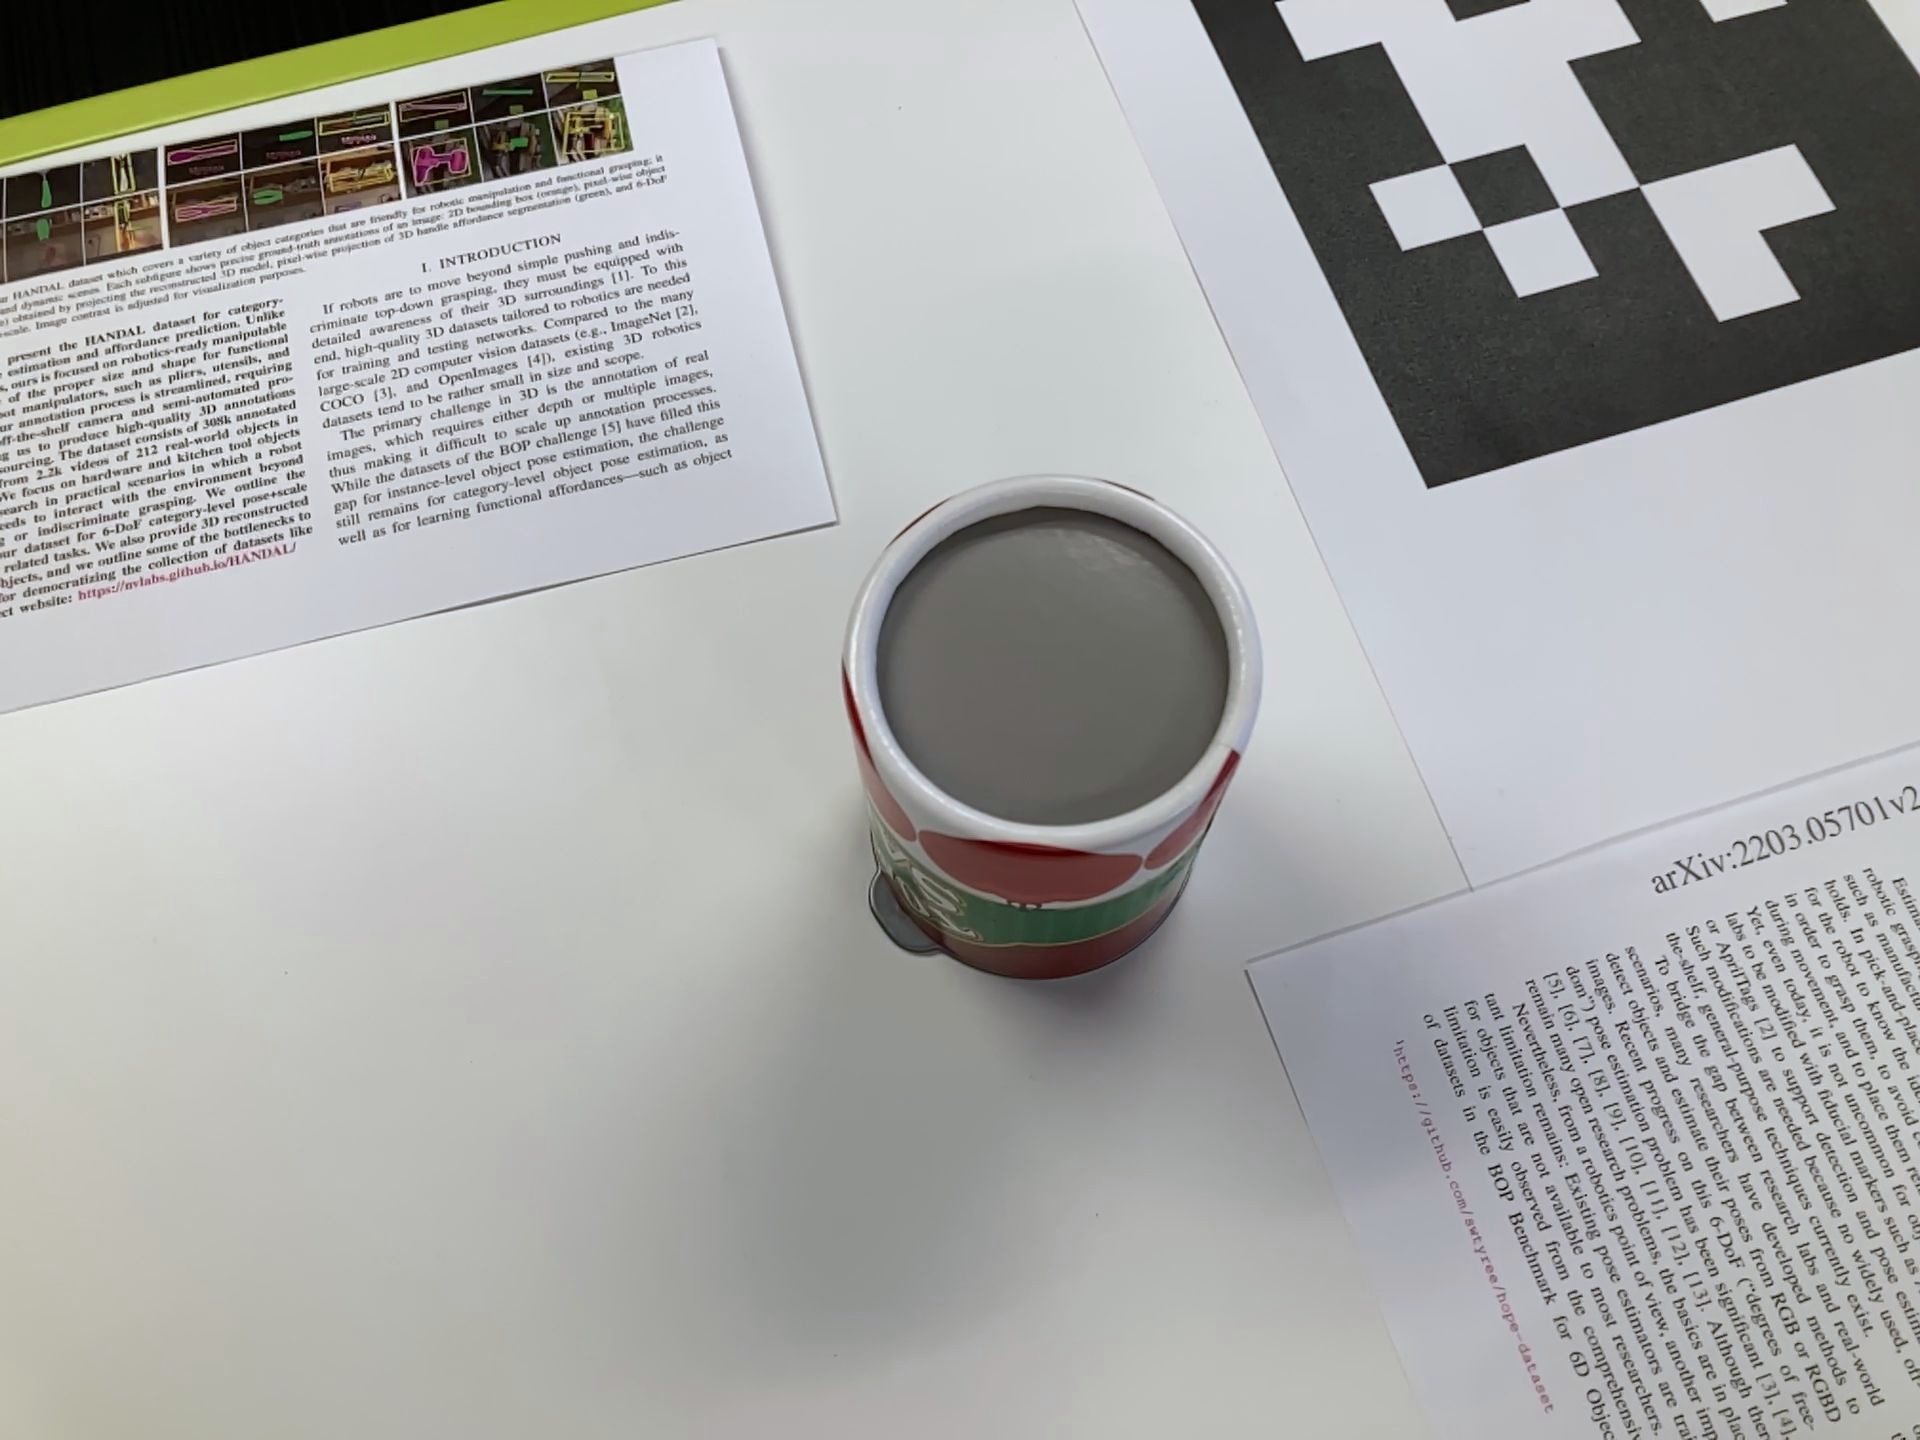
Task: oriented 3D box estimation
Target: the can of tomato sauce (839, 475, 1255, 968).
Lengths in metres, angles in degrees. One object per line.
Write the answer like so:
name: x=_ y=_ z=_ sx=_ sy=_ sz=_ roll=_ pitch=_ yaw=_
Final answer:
can of tomato sauce: x=0.012 y=0.004 z=0.286 sx=0.071 sy=0.083 sz=0.071 roll=0 pitch=70 yaw=1
